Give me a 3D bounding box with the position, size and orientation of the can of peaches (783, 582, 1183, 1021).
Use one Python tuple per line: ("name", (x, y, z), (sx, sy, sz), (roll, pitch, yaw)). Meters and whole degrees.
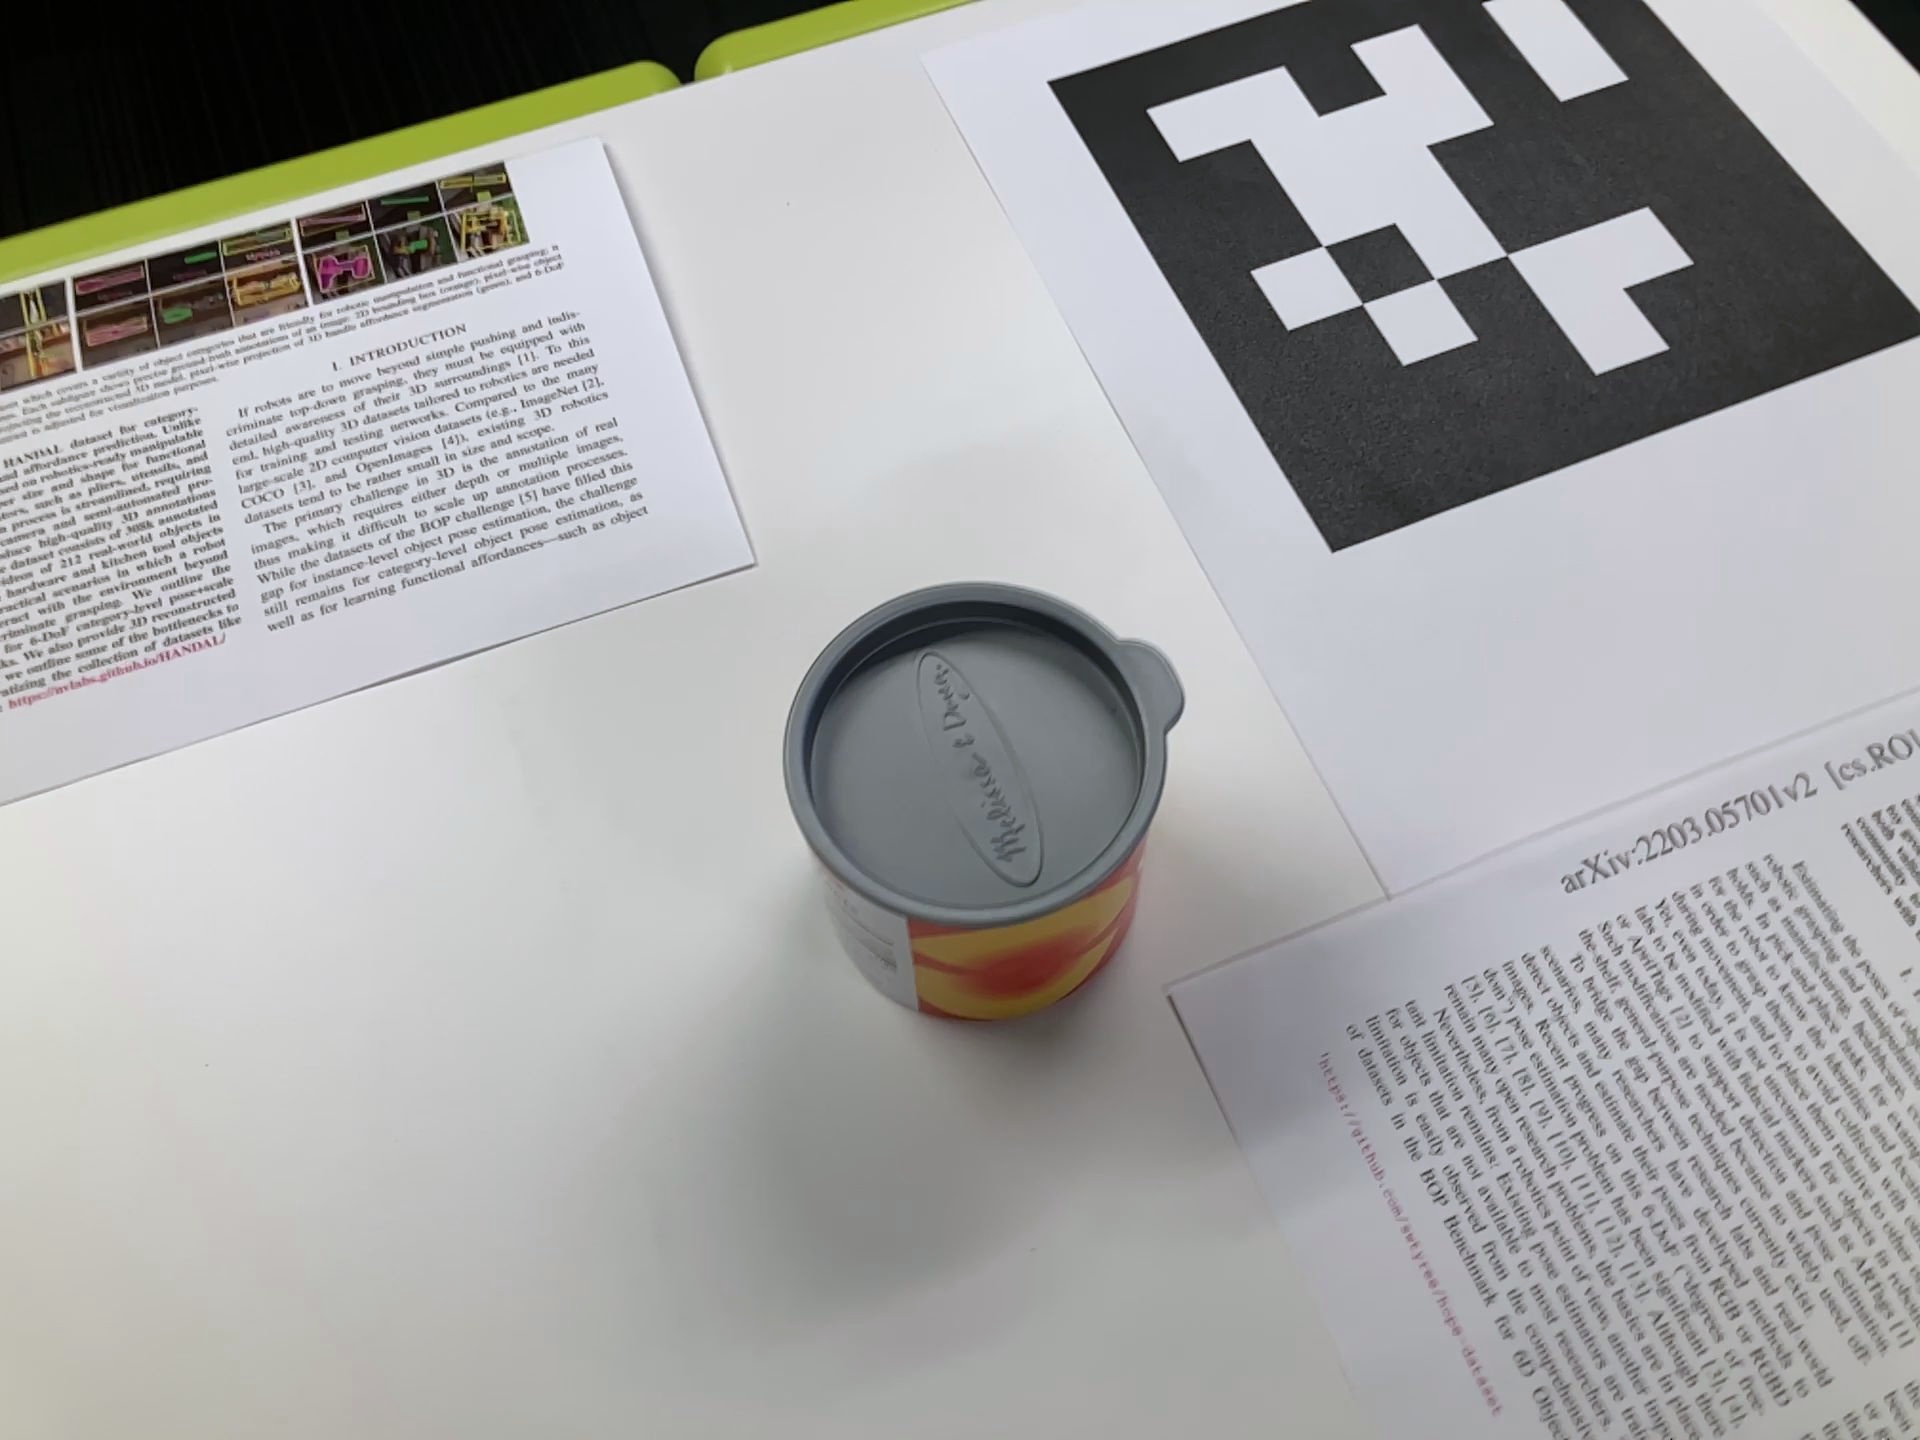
("can of peaches", (0.005, 0.016, 0.299), (0.071, 0.058, 0.071), (-1, 62, 1))
